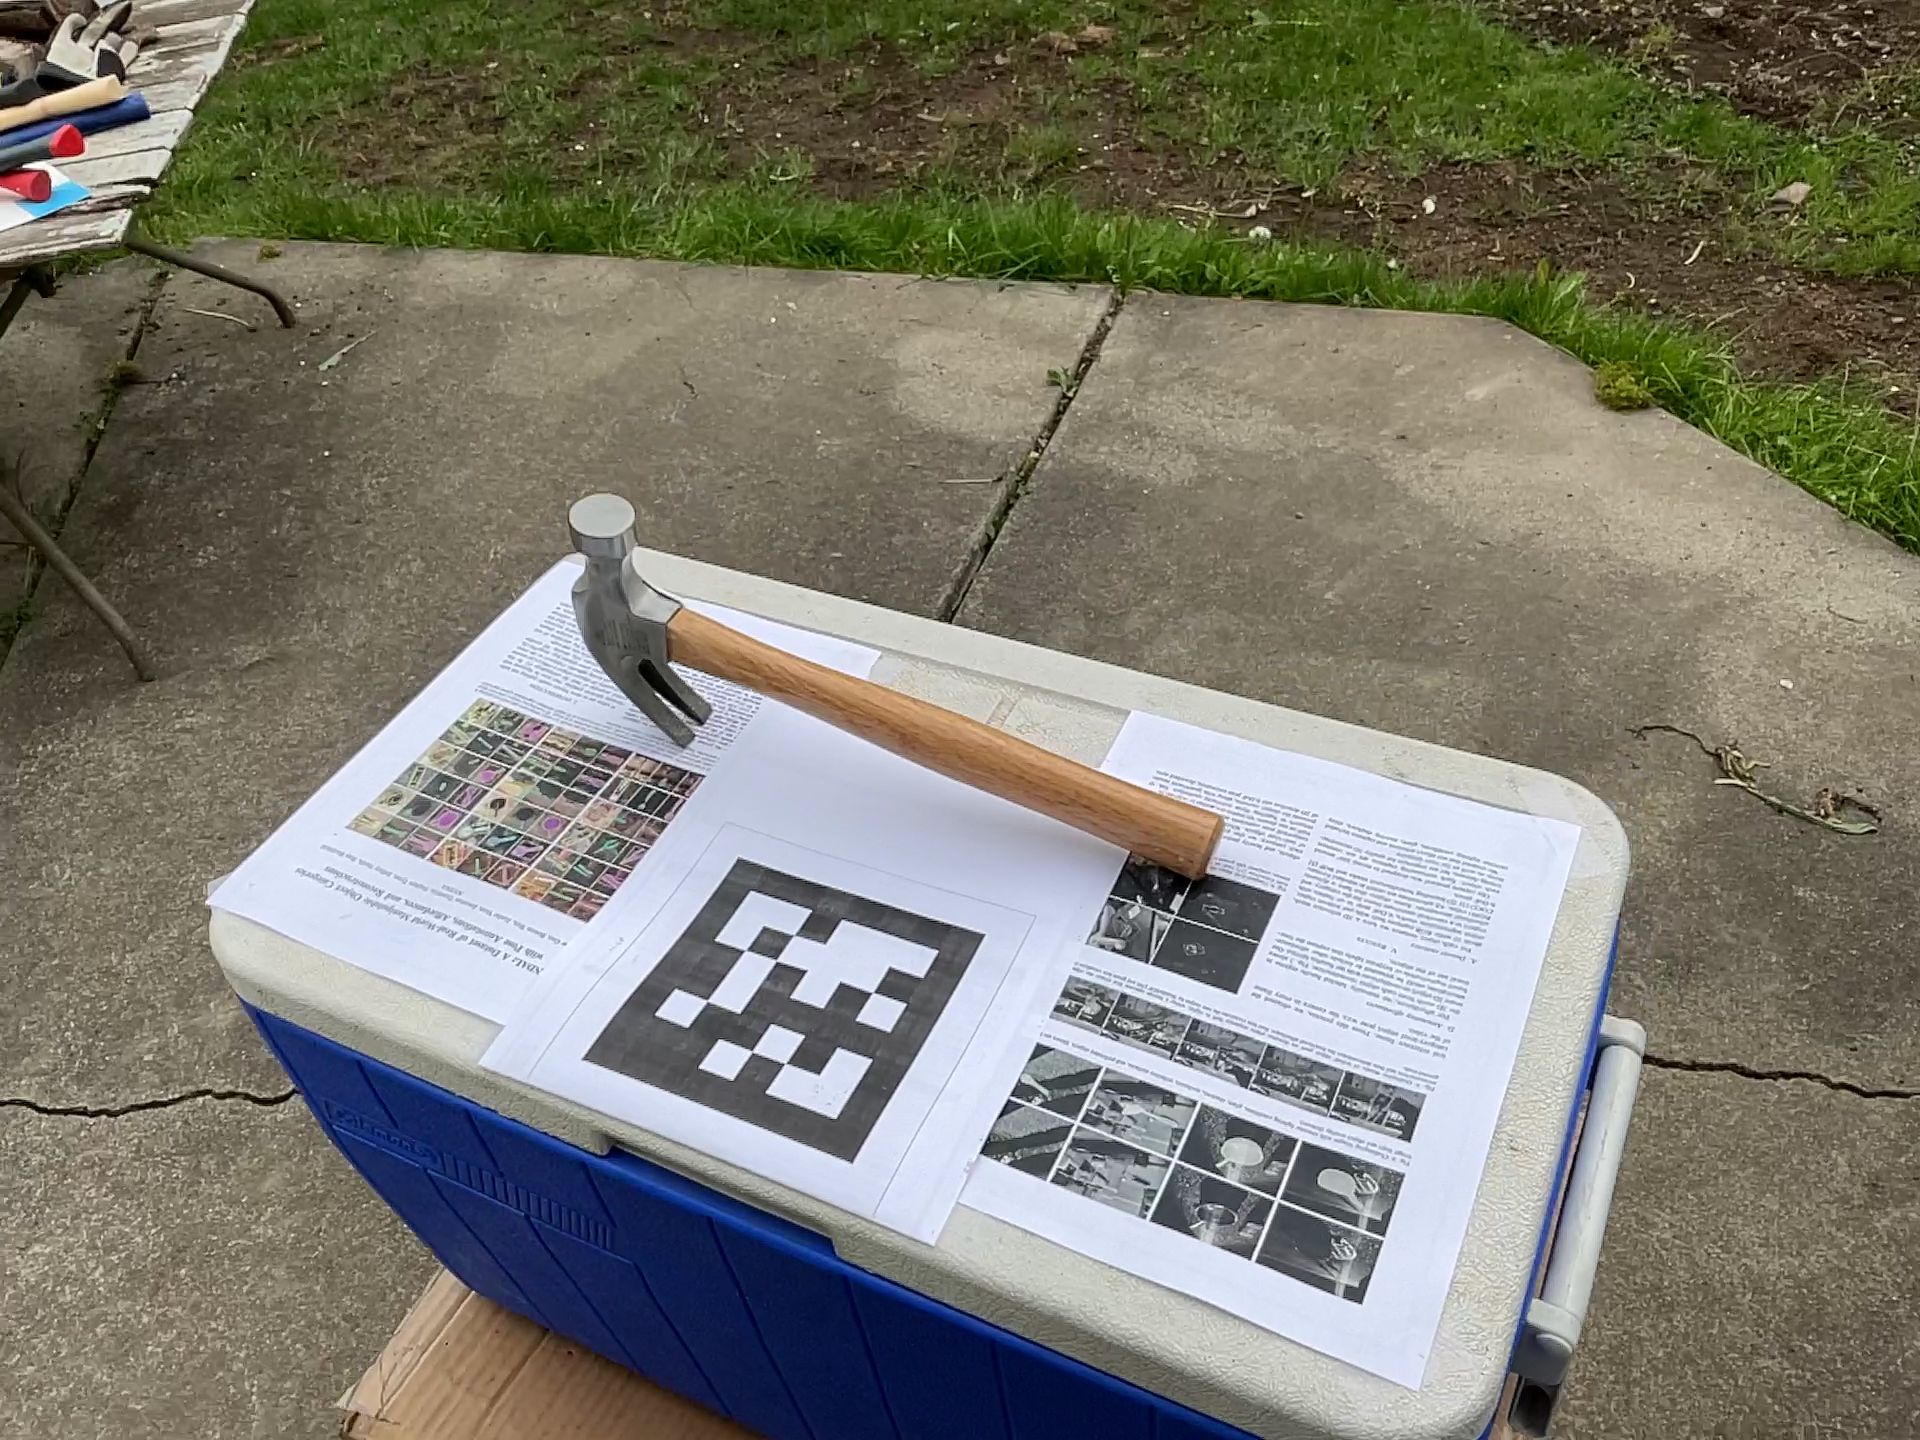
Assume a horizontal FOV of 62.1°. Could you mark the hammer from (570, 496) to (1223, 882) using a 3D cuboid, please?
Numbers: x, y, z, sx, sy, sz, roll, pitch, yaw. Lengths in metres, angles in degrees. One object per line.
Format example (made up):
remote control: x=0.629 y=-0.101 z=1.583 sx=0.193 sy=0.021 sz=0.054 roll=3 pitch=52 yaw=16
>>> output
hammer: x=-0.036 y=0.001 z=0.759 sx=0.331 sy=0.130 sz=0.031 roll=22 pitch=51 yaw=13
